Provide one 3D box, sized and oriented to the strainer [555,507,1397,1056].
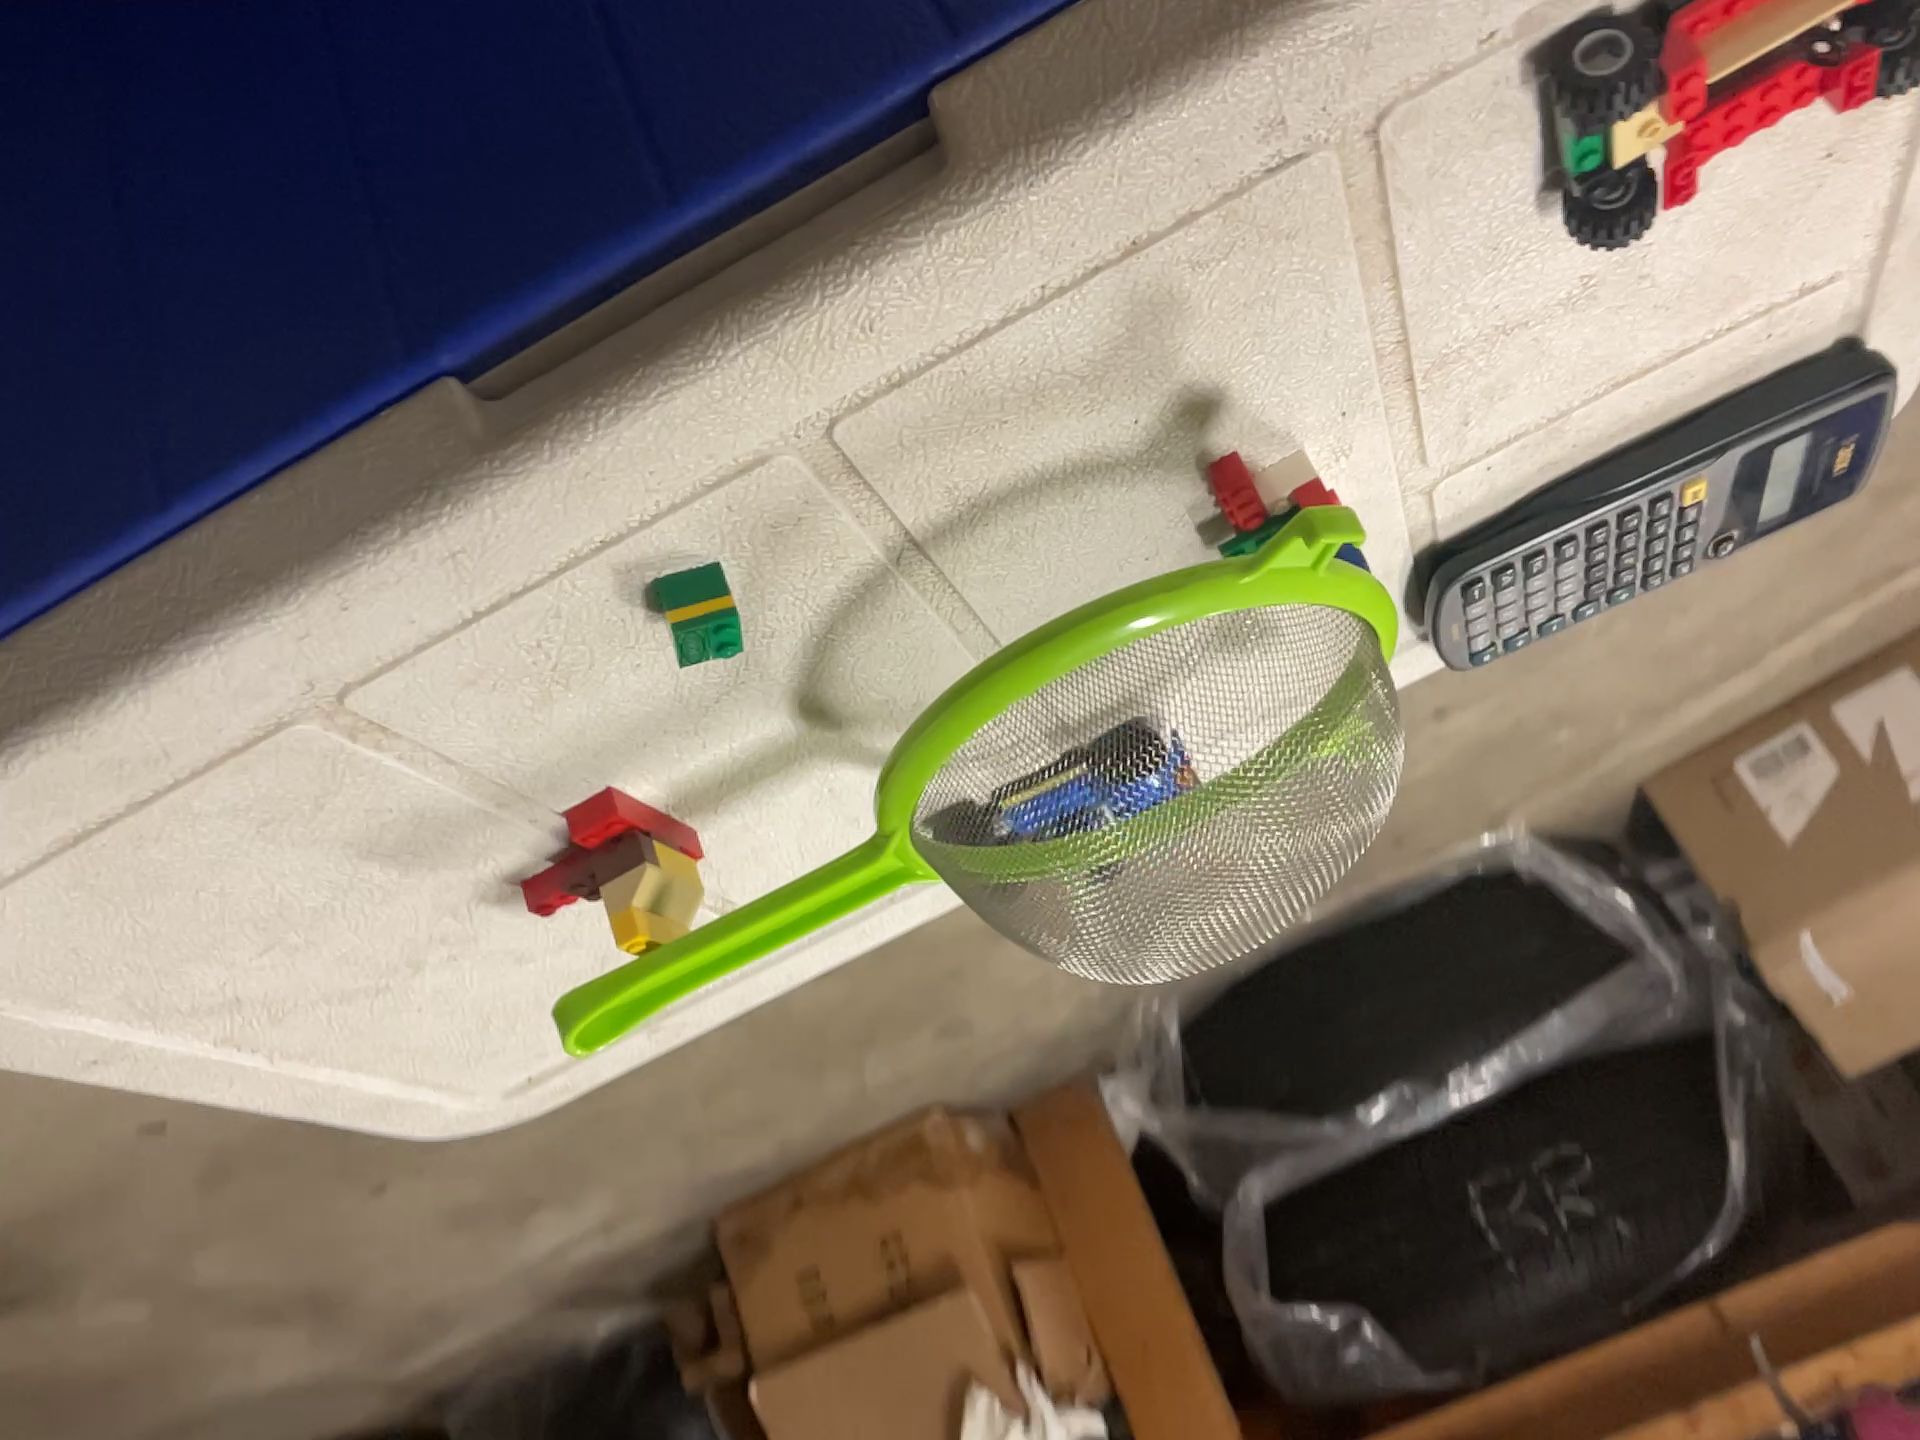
[{"bbox_3d":[0.011,0.050,0.428,0.256,0.069,0.151,-27,155,6],"label":"strainer"}]
